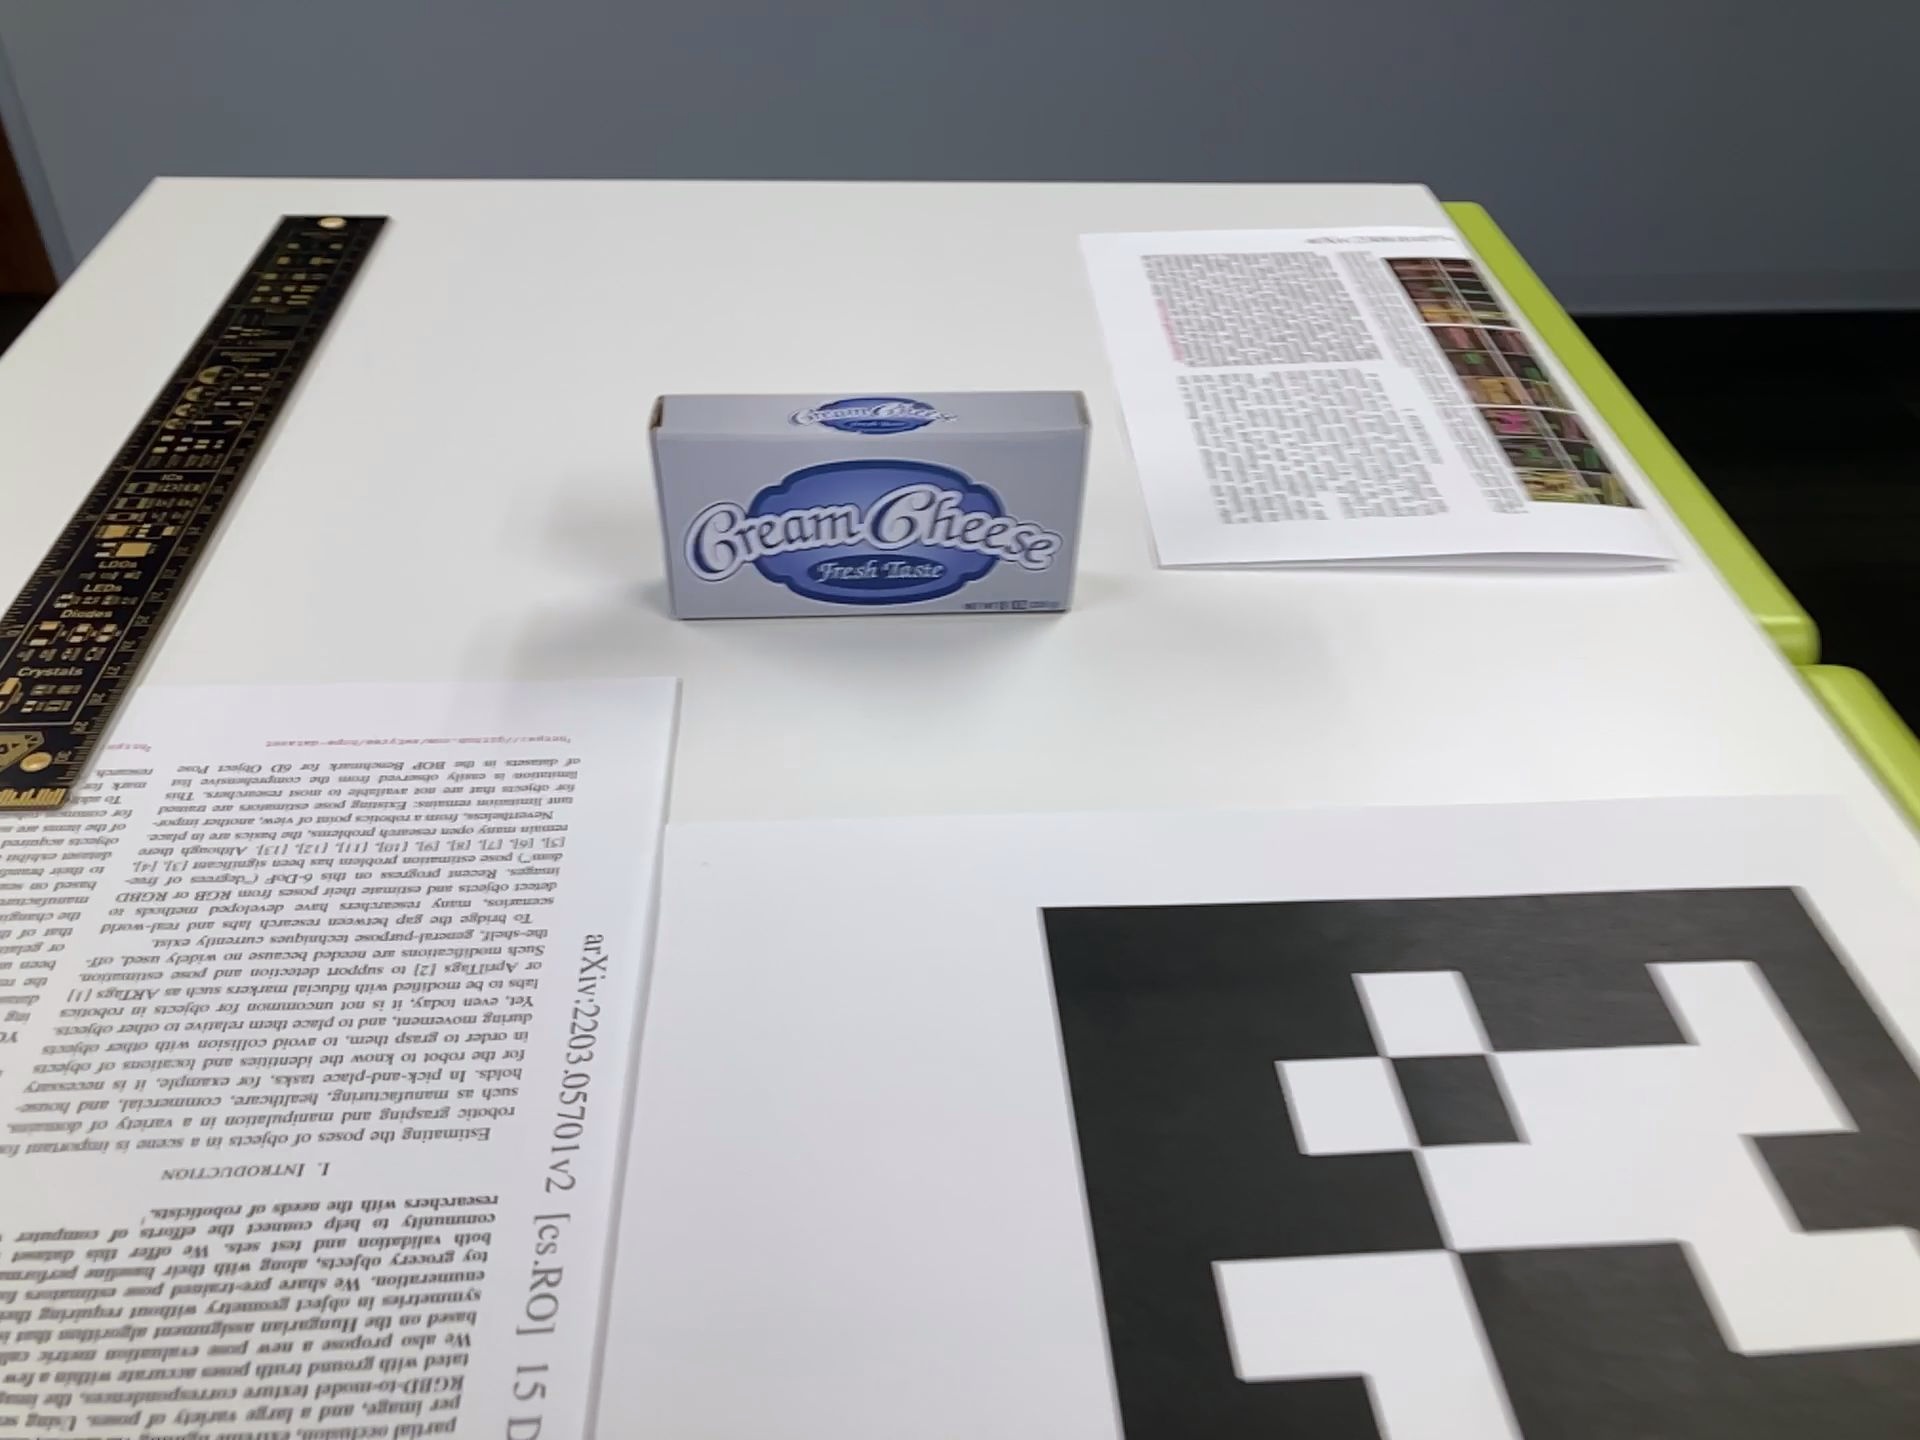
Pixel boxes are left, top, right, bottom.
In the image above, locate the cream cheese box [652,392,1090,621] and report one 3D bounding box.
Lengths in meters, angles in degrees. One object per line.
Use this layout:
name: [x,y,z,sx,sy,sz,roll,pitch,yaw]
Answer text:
cream cheese box: [-0.022,-0.053,0.396,0.104,0.053,0.024,-1,37,-4]
